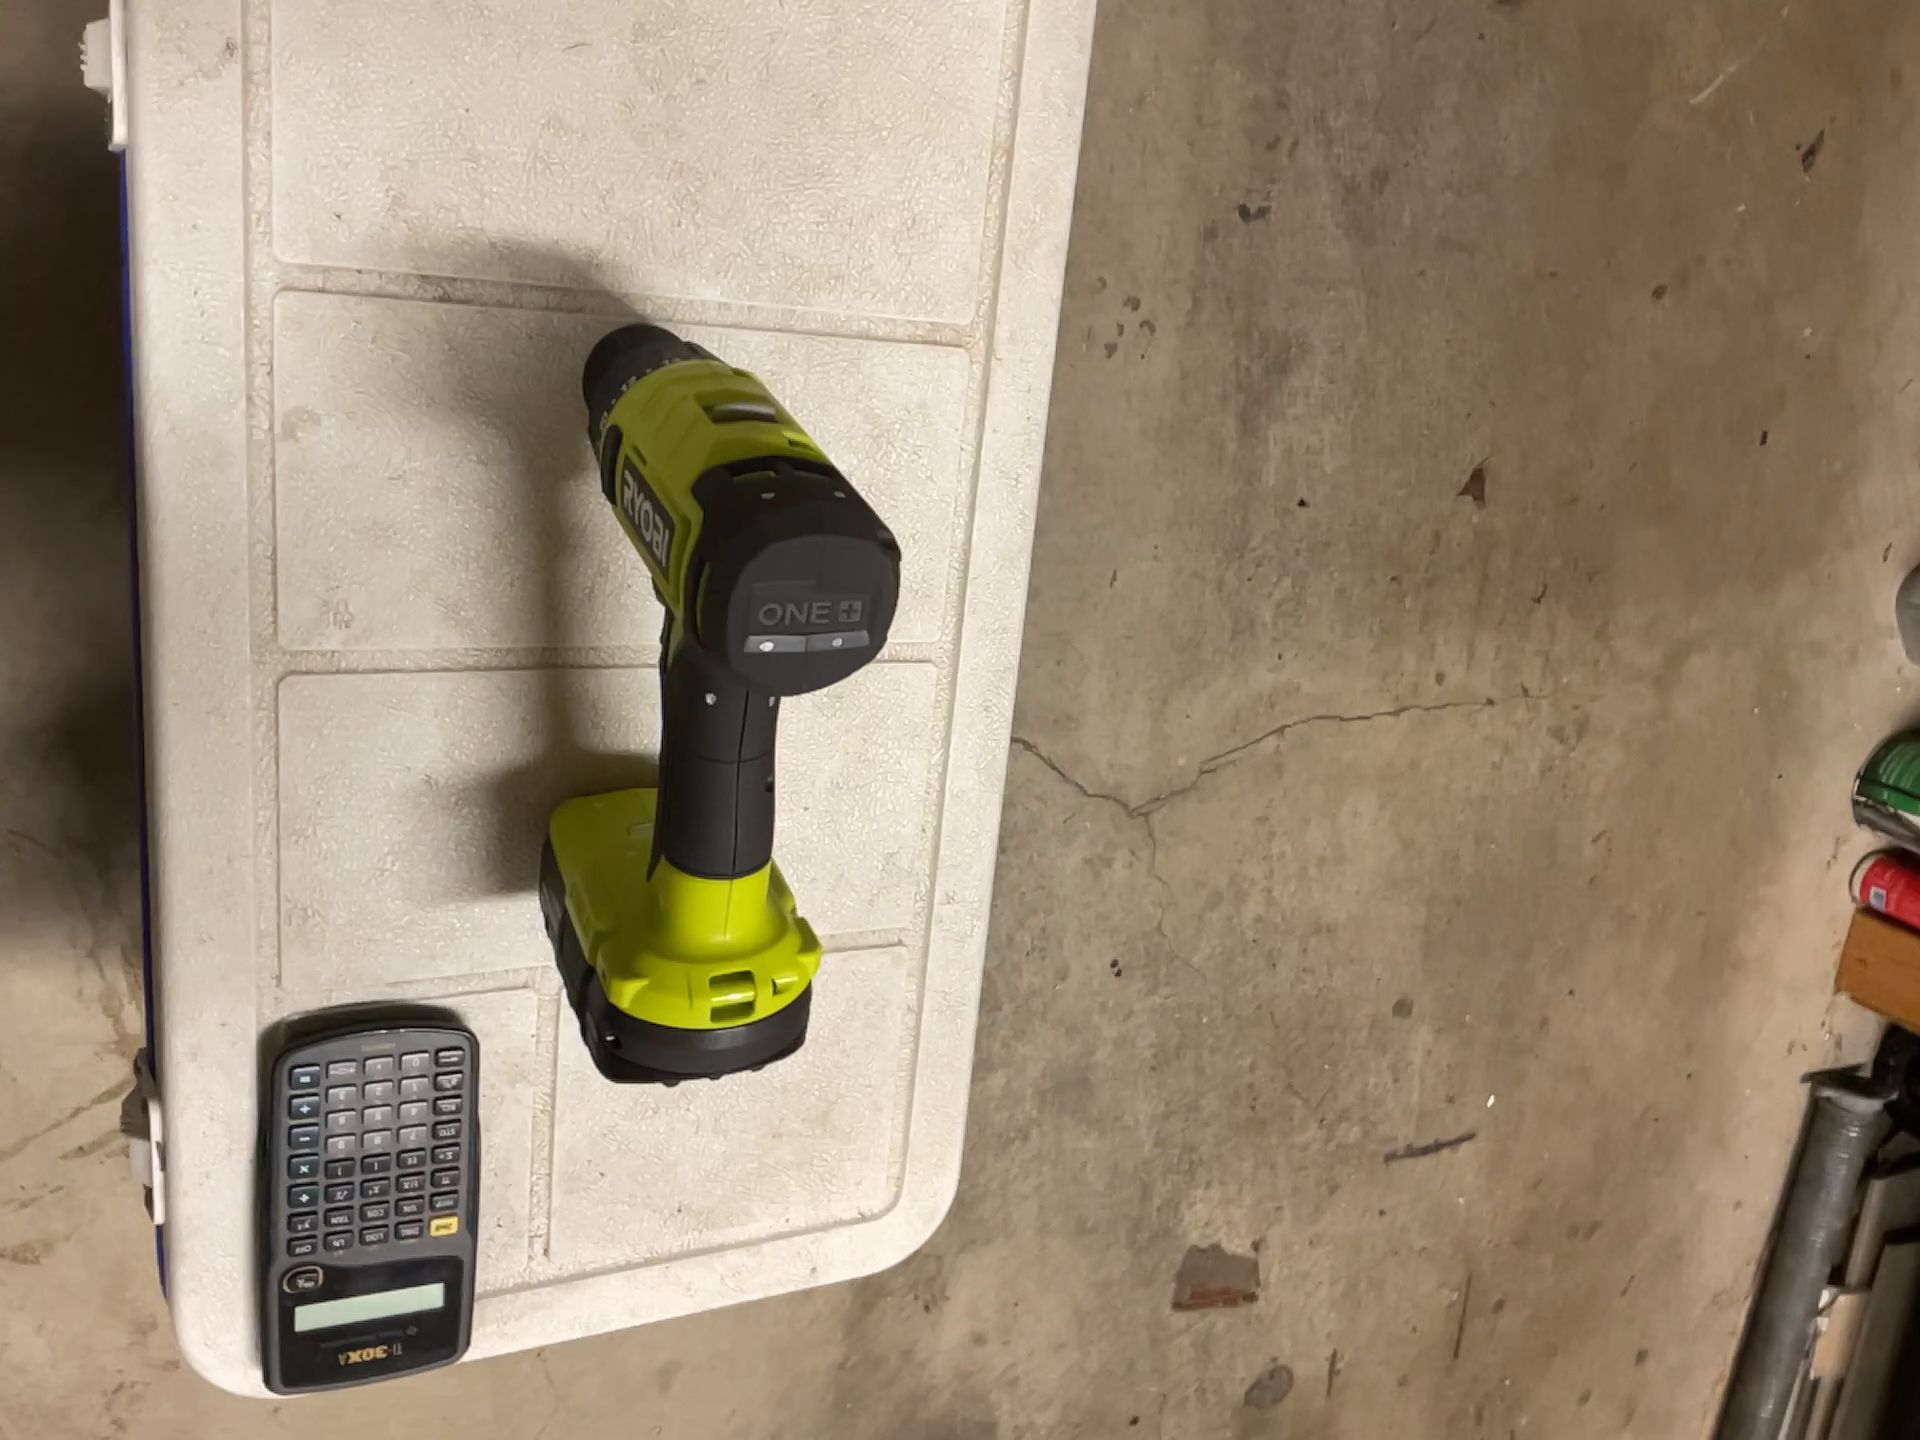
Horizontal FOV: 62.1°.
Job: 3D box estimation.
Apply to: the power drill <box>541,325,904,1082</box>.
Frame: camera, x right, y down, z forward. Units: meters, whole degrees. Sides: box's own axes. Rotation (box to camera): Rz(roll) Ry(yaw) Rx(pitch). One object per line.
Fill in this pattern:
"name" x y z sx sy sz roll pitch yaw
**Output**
"power drill" -0.095 -0.012 0.551 0.080 0.190 0.228 -5 123 -27
